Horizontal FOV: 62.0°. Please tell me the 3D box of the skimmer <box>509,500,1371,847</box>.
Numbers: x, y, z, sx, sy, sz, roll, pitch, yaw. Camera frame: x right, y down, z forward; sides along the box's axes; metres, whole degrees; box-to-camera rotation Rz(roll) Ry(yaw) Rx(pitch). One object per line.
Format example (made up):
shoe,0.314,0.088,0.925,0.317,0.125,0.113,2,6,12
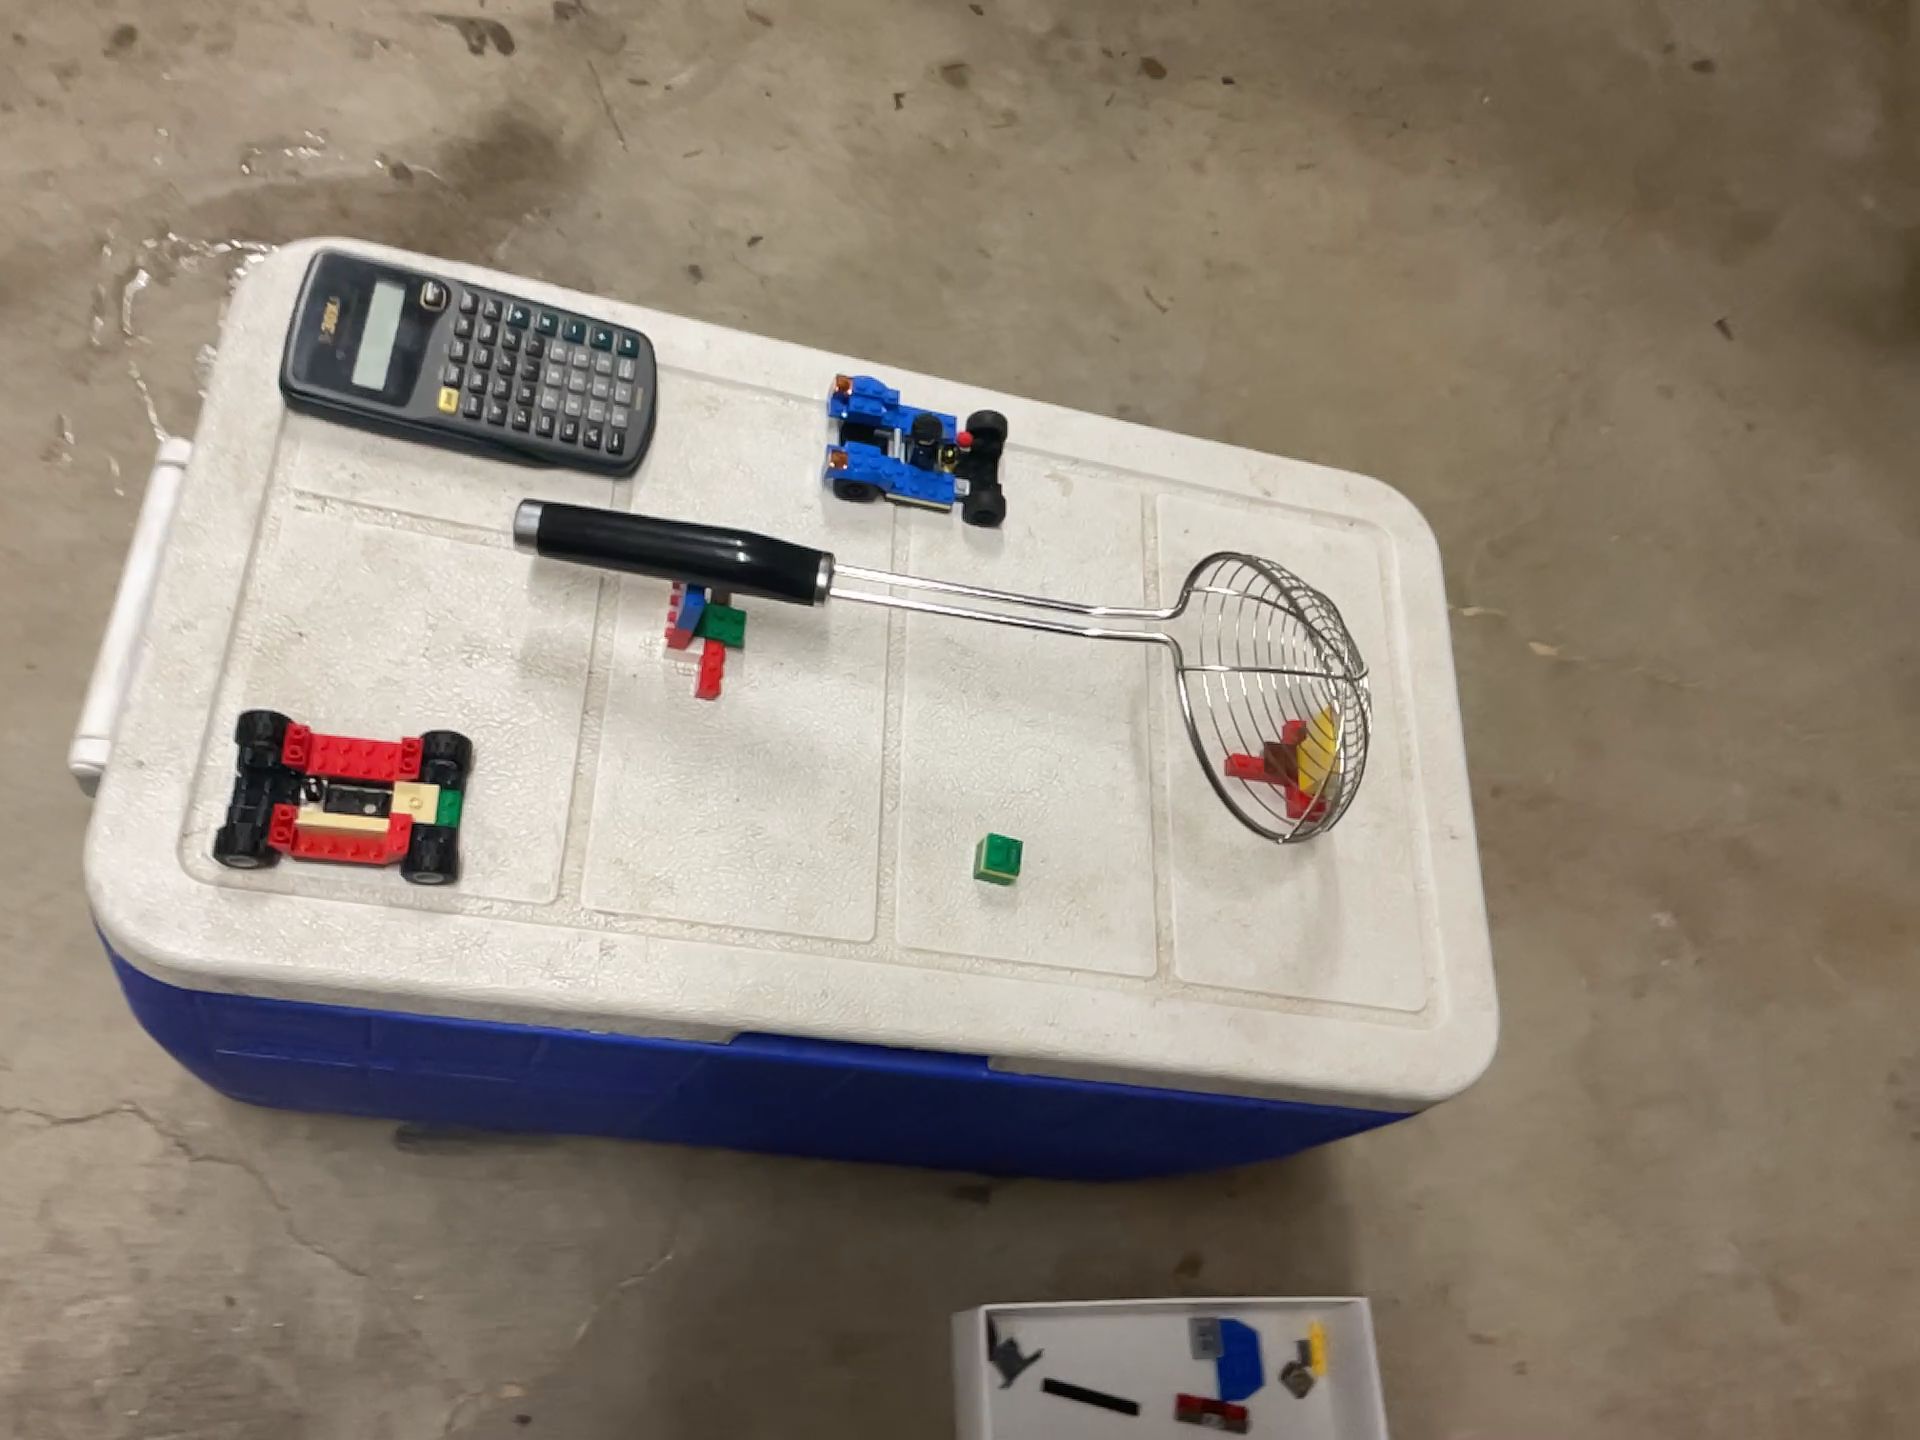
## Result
skimmer,0.001,-0.032,0.664,0.363,0.090,0.127,9,63,-4
